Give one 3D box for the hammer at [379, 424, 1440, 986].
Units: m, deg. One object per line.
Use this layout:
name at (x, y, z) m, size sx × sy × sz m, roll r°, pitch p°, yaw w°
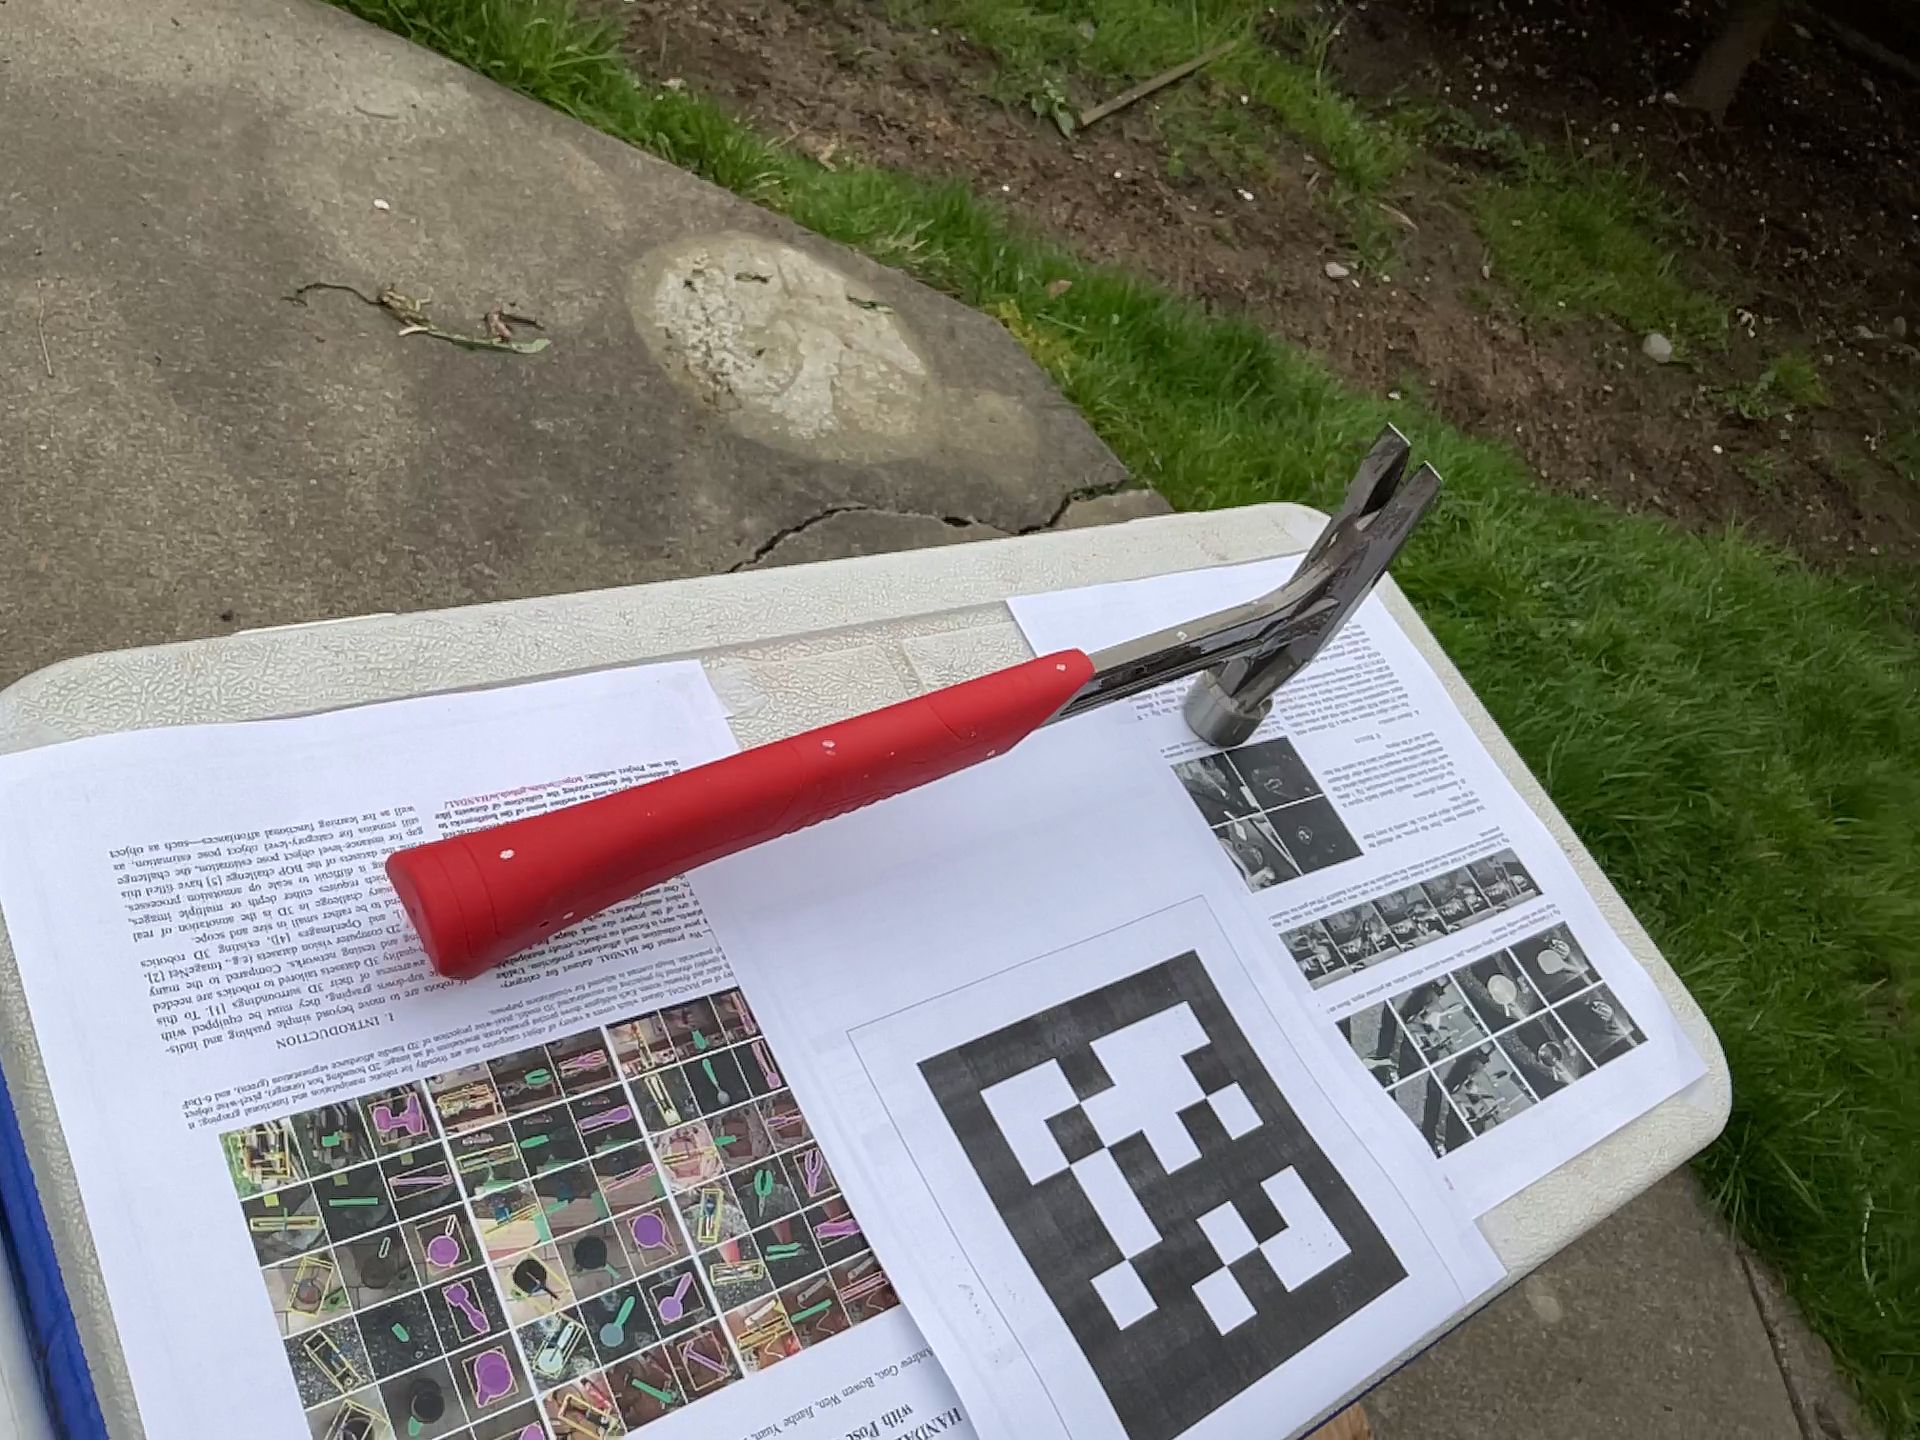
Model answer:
hammer at (0.000, -0.002, 0.507) m, size 0.359 × 0.149 × 0.037 m, roll -18°, pitch 61°, yaw -34°
